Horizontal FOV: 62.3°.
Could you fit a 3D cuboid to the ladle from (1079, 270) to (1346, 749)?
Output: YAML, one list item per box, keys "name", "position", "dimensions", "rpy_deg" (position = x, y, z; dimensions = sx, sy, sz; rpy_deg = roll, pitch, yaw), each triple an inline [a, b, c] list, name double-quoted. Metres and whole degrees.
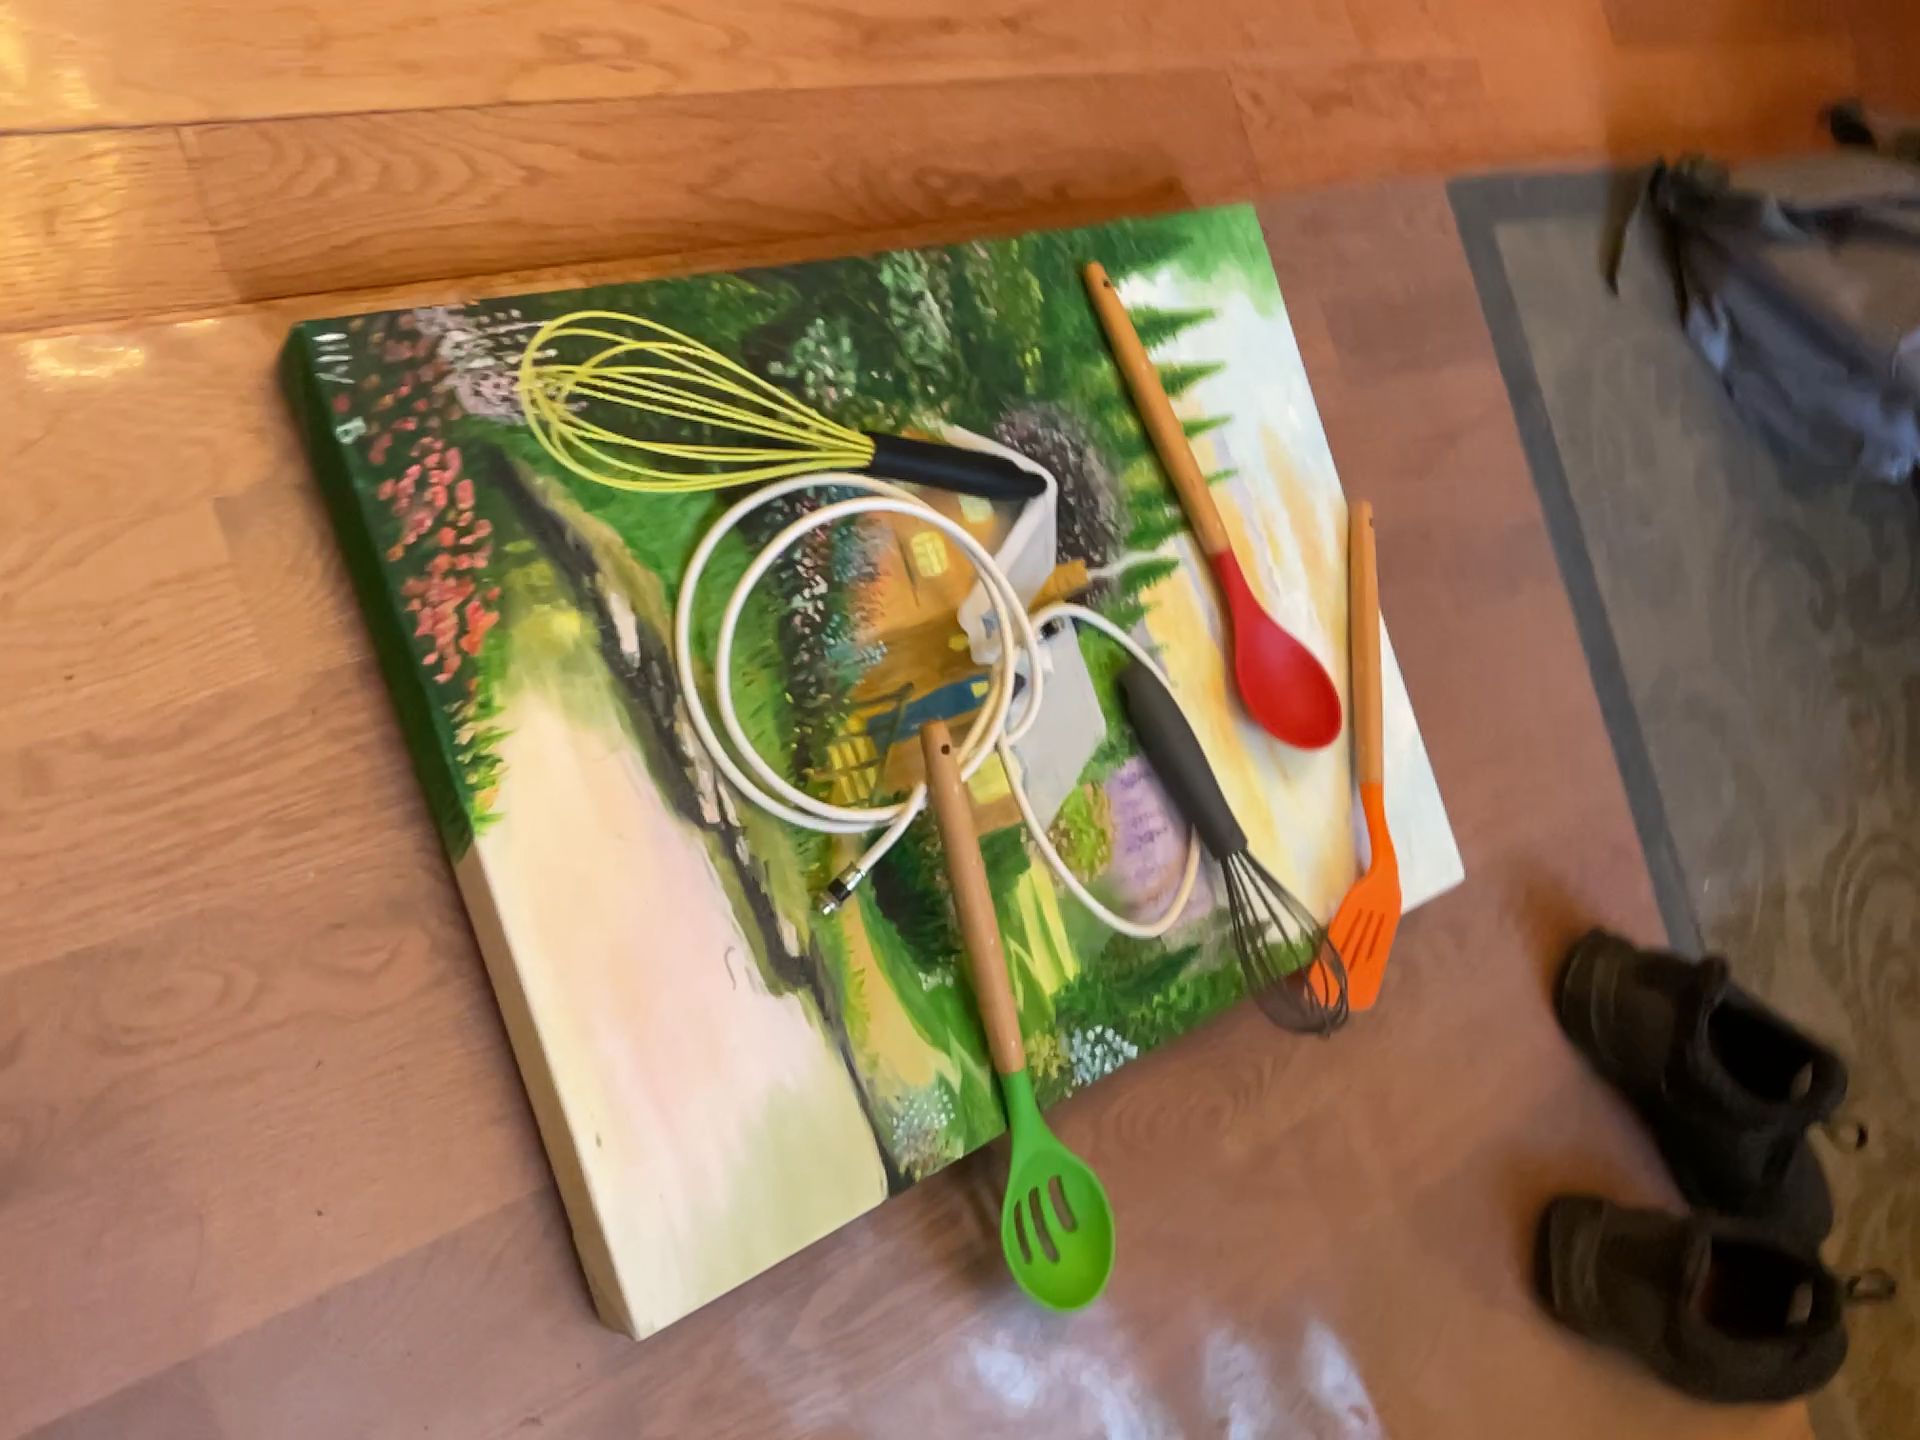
- name: "ladle"
  position: [0.145, -0.123, 0.948]
  dimensions: [0.069, 0.031, 0.315]
  rpy_deg: [-30, 95, -36]

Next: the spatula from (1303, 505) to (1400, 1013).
- name: "spatula"
  position: [0.248, 0.020, 1.001]
  dimensions: [0.080, 0.041, 0.323]
  rpy_deg: [15, 70, -43]

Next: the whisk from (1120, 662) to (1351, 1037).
- name: "whisk"
  position: [0.153, 0.073, 0.902]
  dimensions: [0.055, 0.055, 0.239]
  rpy_deg: [-30, 92, -45]

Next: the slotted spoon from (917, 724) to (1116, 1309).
- name: "slotted spoon"
  position: [0.022, 0.152, 0.800]
  dimensions: [0.070, 0.031, 0.313]
  rpy_deg: [-22, 105, -35]

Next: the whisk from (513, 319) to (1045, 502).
- name: "whisk"
  position: [-0.075, -0.137, 0.789]
  dimensions: [0.311, 0.067, 0.080]
  rpy_deg: [3, 84, -40]
